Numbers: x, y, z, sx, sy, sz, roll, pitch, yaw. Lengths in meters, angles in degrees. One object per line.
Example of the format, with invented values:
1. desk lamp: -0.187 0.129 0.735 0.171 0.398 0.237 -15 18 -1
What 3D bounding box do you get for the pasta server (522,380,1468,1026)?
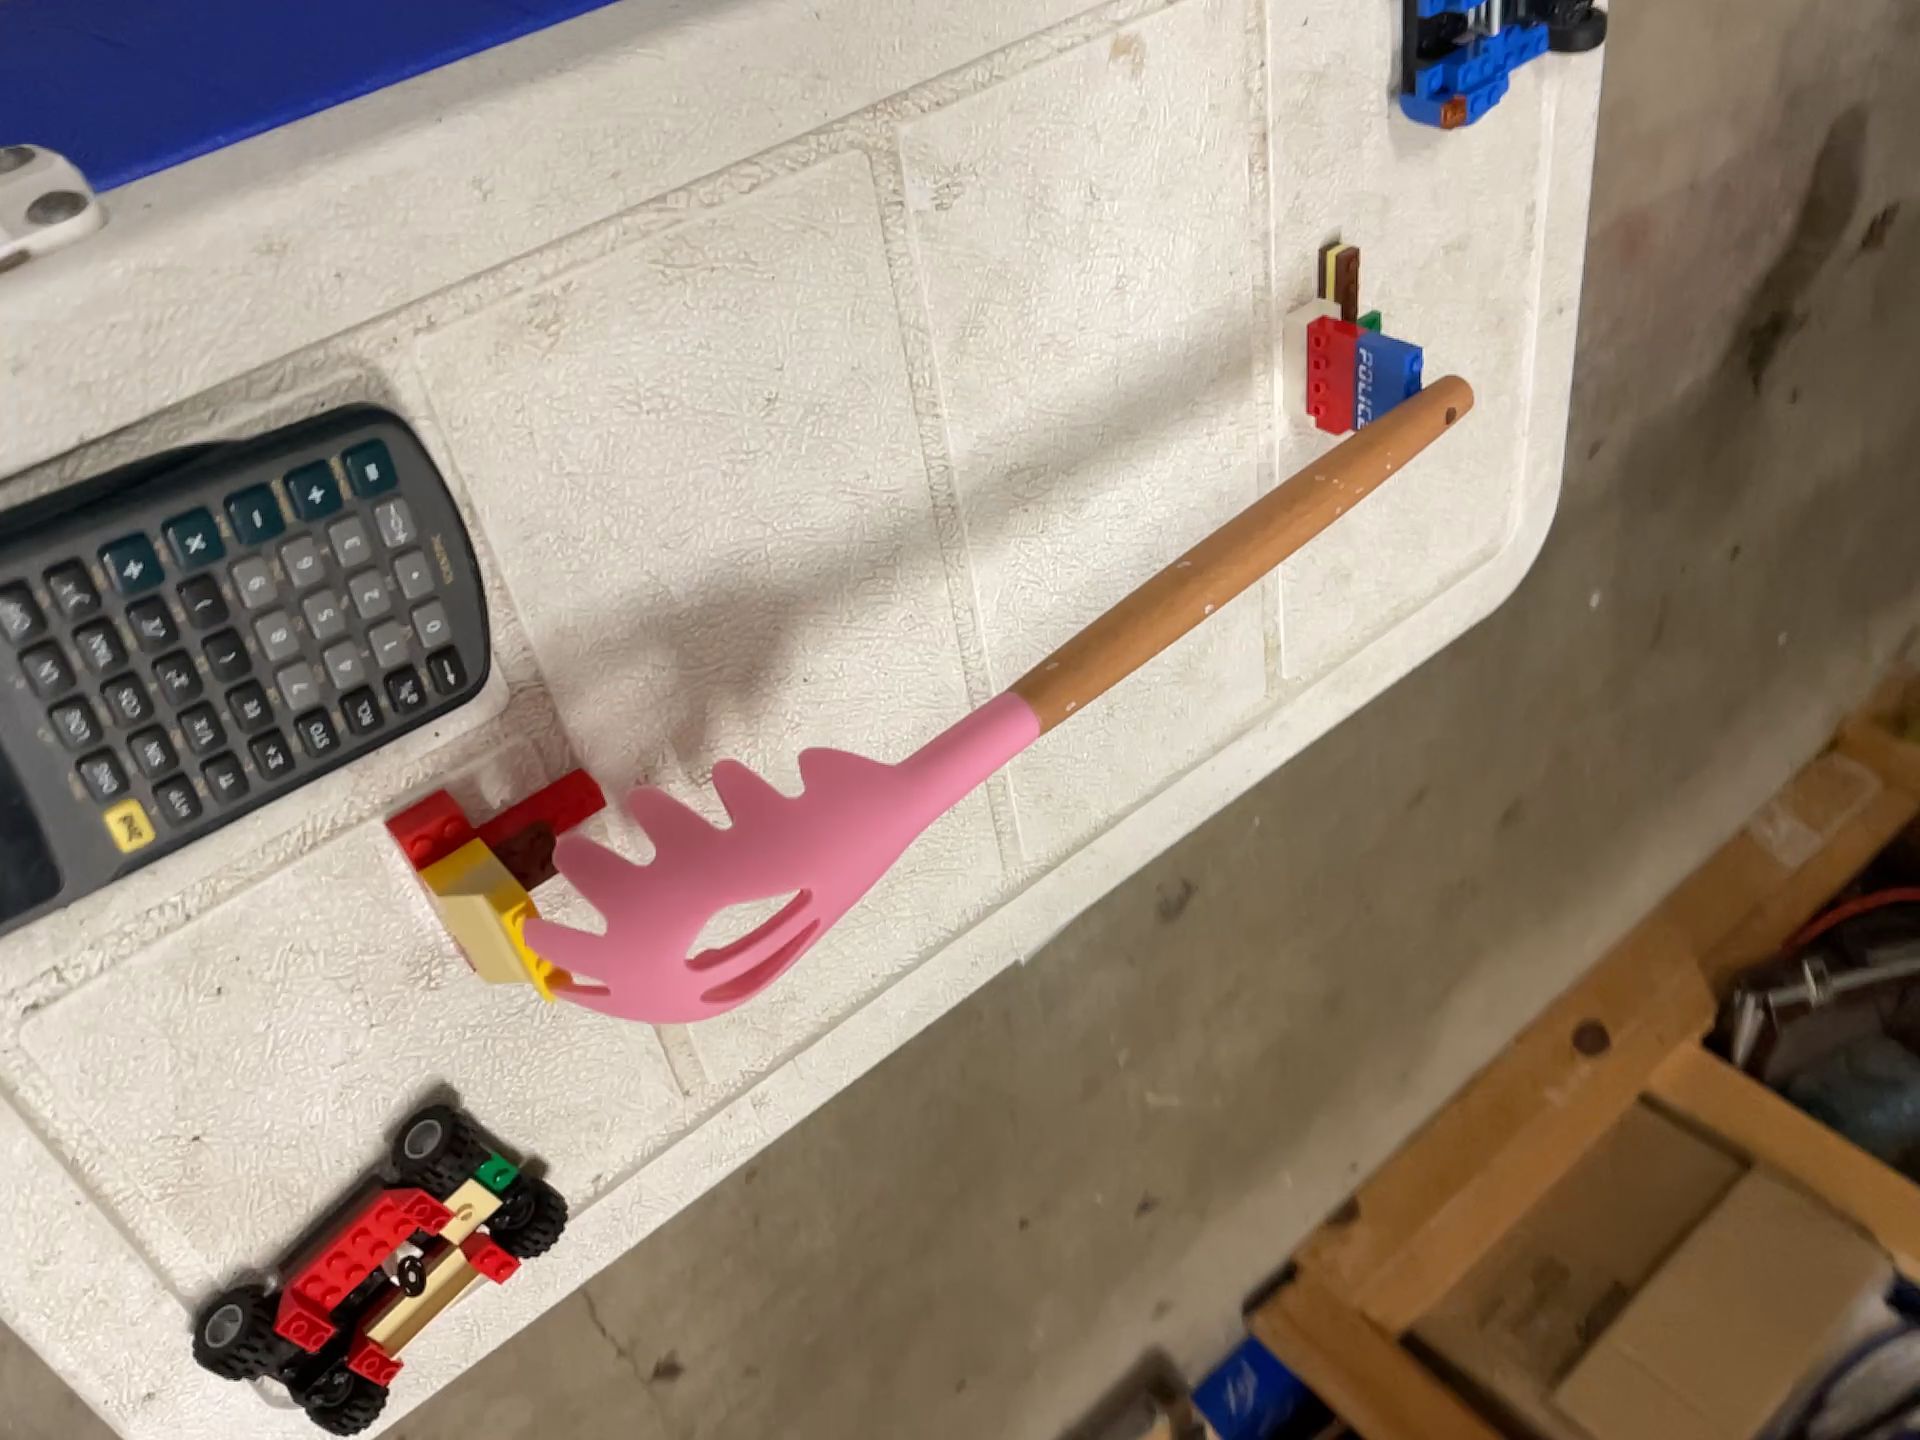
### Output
1. pasta server: 0.030 -0.018 0.426 0.316 0.040 0.060 -36 134 -25
